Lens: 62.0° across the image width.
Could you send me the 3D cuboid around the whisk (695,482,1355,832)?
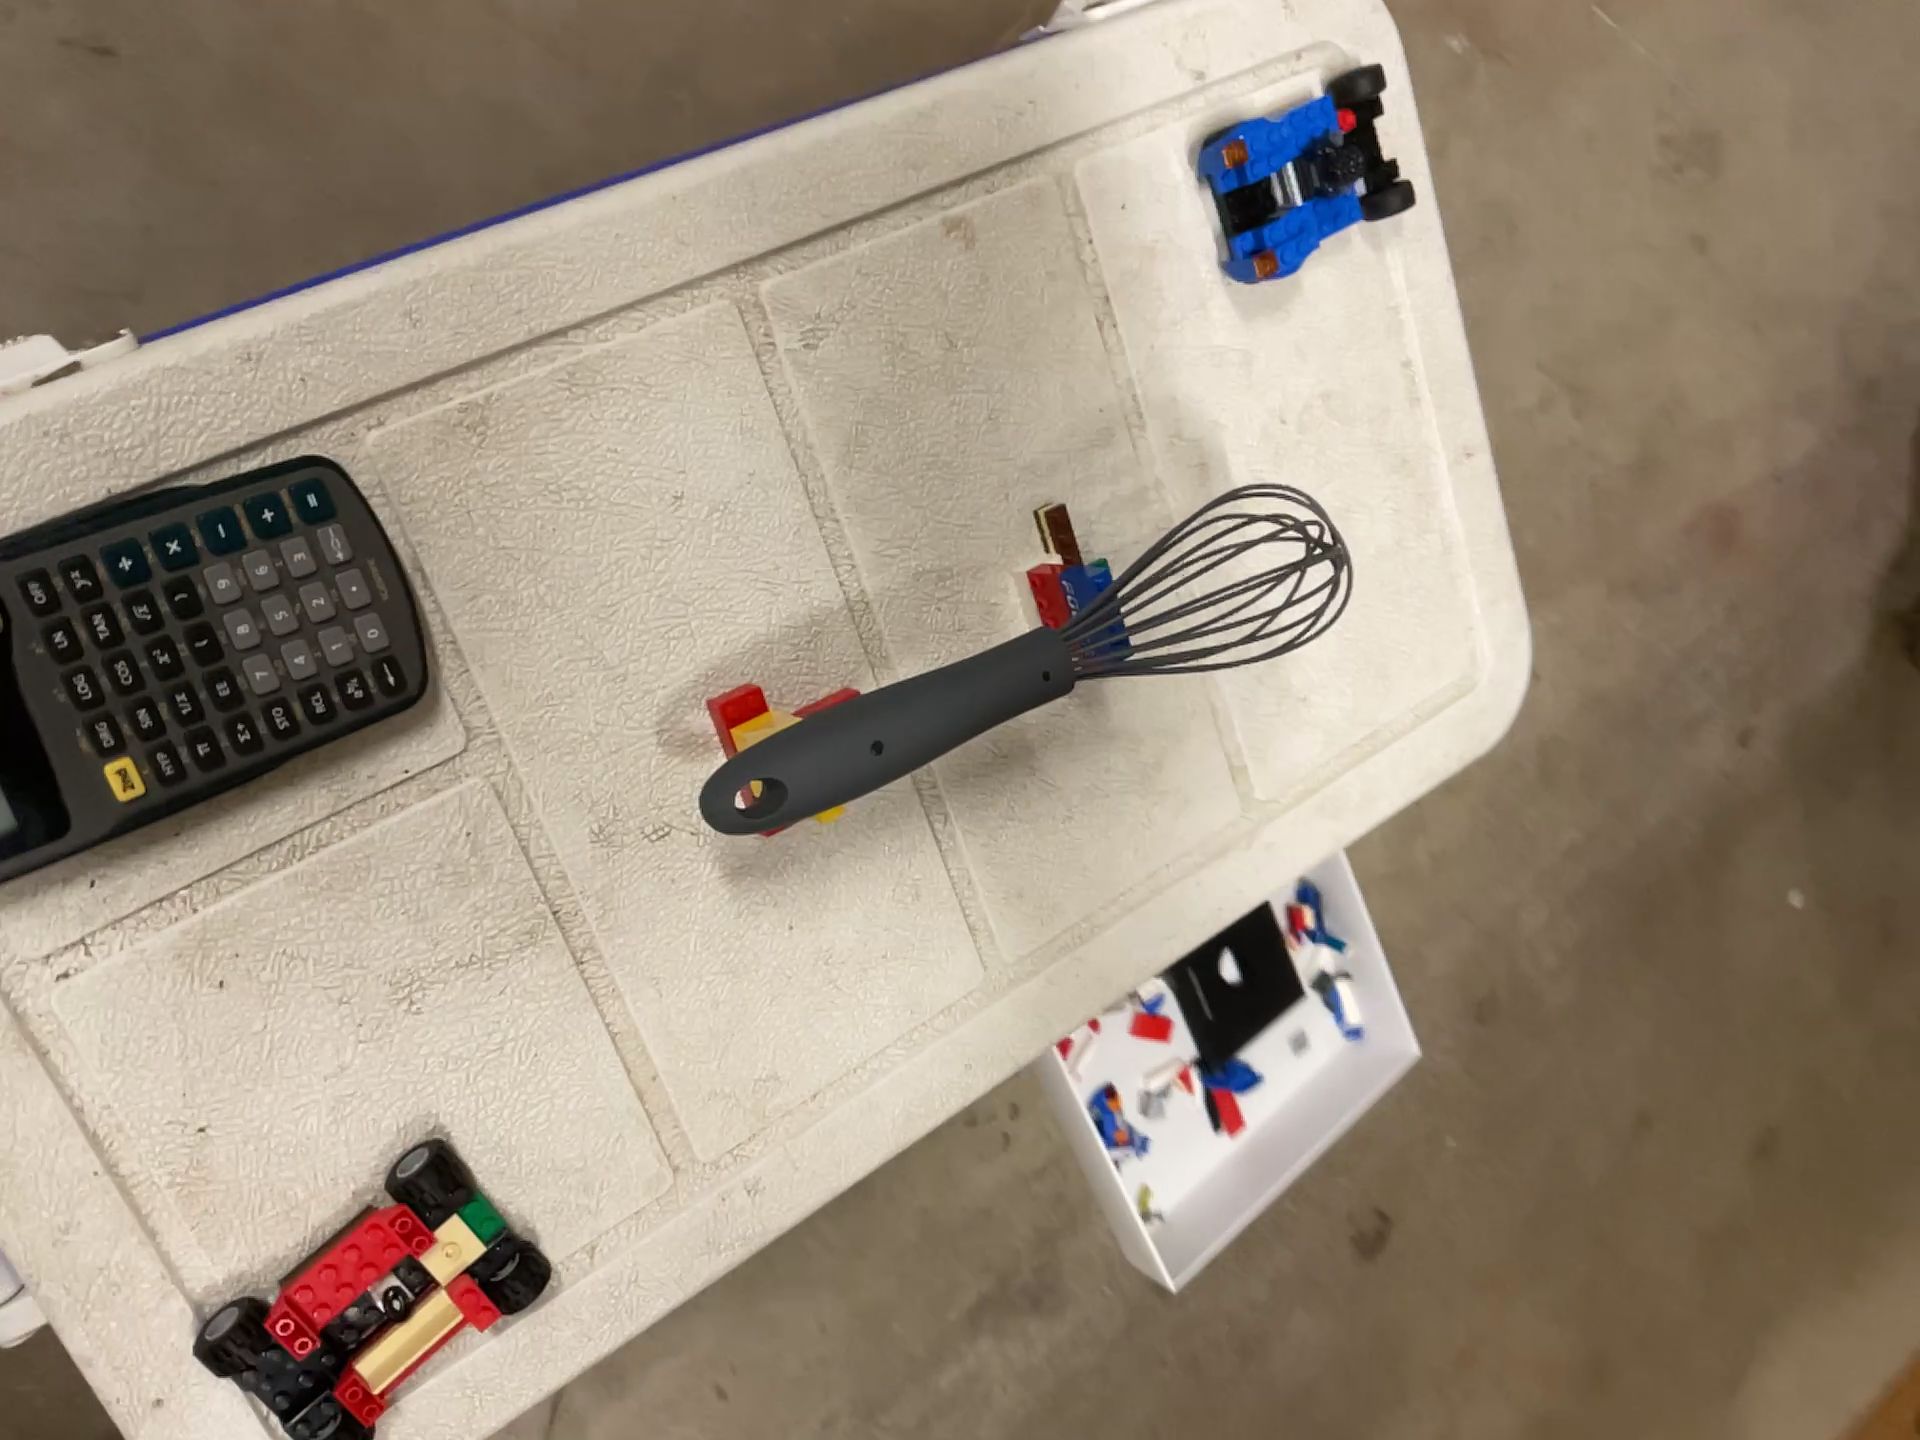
[{"bbox_3d":[0.027,-0.020,0.500,0.239,0.055,0.055,-24,107,-22],"label":"whisk"}]
